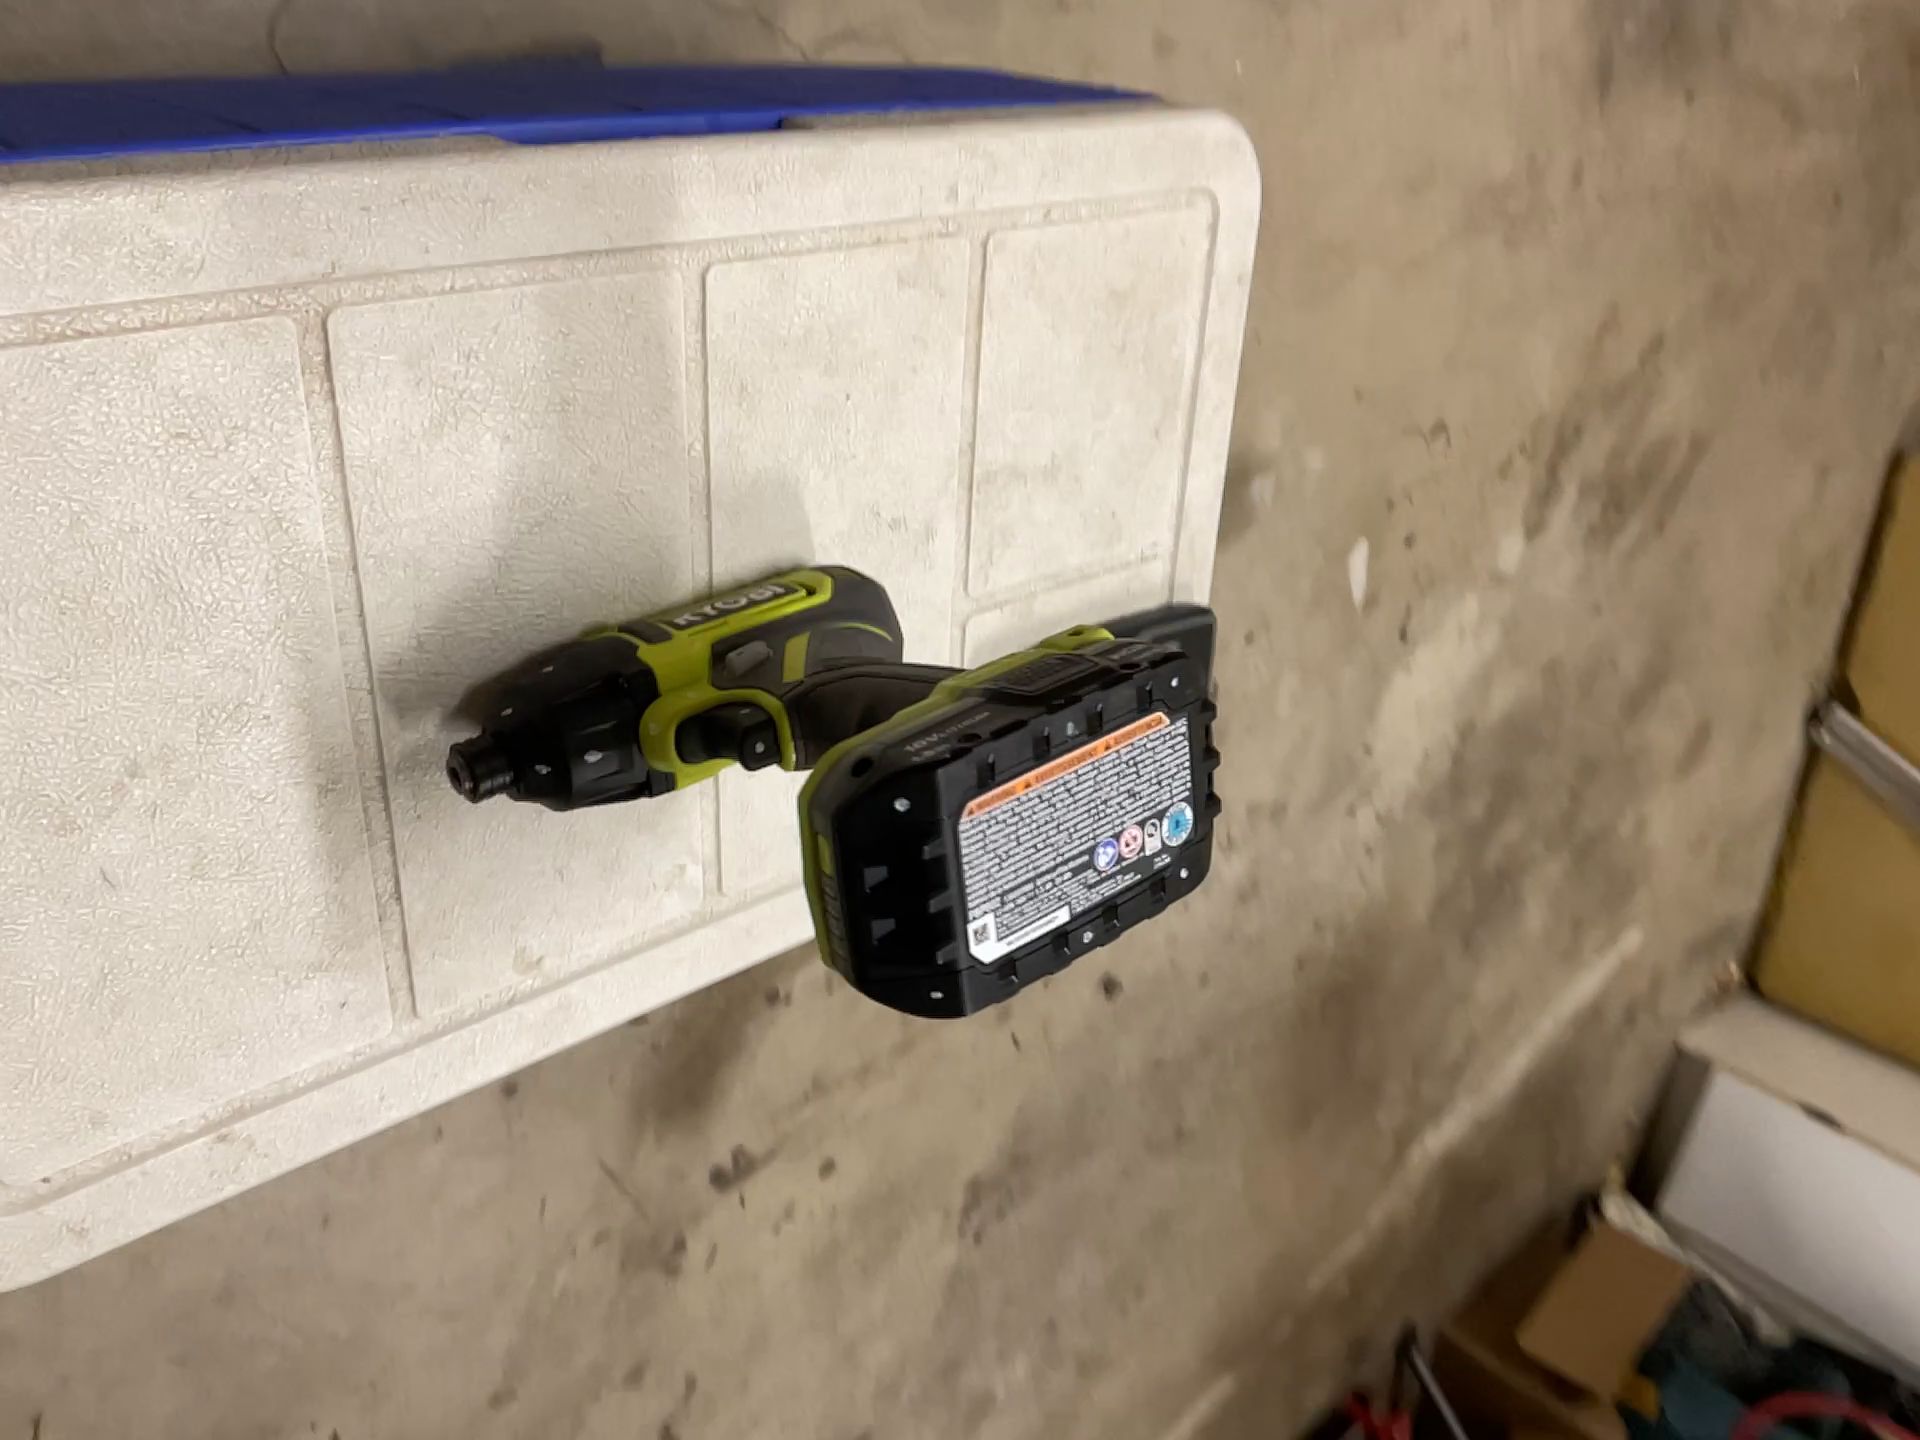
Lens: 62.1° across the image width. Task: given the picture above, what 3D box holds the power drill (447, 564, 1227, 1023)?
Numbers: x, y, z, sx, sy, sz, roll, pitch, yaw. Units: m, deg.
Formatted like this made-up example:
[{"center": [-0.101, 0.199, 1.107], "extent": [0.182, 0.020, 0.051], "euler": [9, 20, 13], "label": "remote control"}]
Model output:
[{"center": [-0.044, 0.010, 0.506], "extent": [0.171, 0.223, 0.080], "euler": [-23, 116, -36], "label": "power drill"}]
